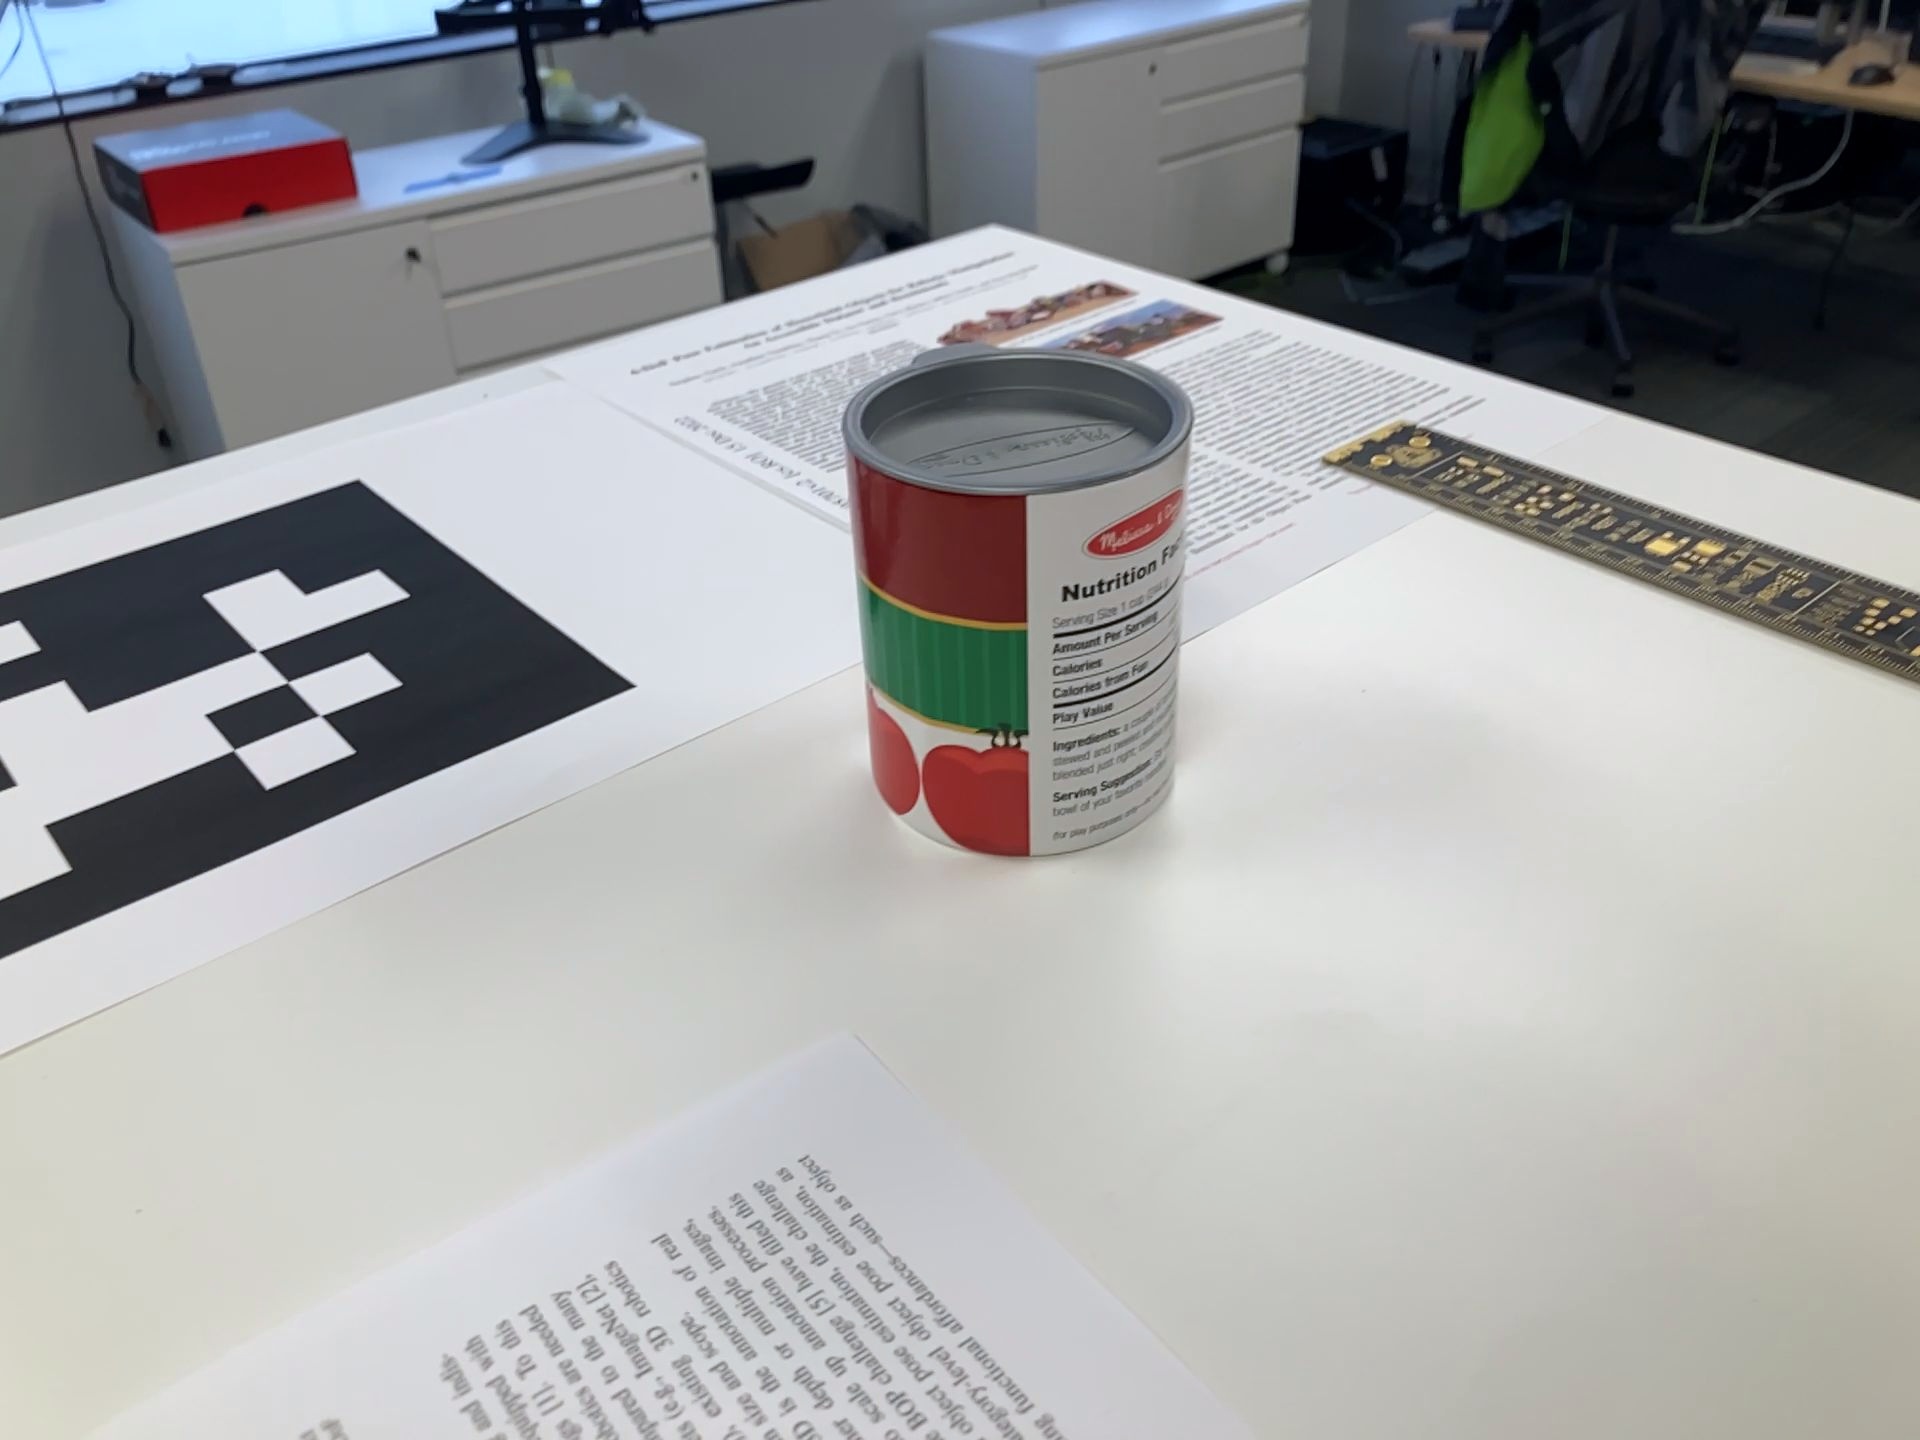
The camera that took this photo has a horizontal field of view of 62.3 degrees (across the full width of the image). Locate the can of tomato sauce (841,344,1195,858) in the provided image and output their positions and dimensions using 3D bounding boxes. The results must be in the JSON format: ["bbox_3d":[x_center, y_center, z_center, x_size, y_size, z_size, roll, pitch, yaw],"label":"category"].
[{"bbox_3d":[0.011,-0.025,0.322,0.071,0.083,0.071,-2,33,1],"label":"can of tomato sauce"}]
